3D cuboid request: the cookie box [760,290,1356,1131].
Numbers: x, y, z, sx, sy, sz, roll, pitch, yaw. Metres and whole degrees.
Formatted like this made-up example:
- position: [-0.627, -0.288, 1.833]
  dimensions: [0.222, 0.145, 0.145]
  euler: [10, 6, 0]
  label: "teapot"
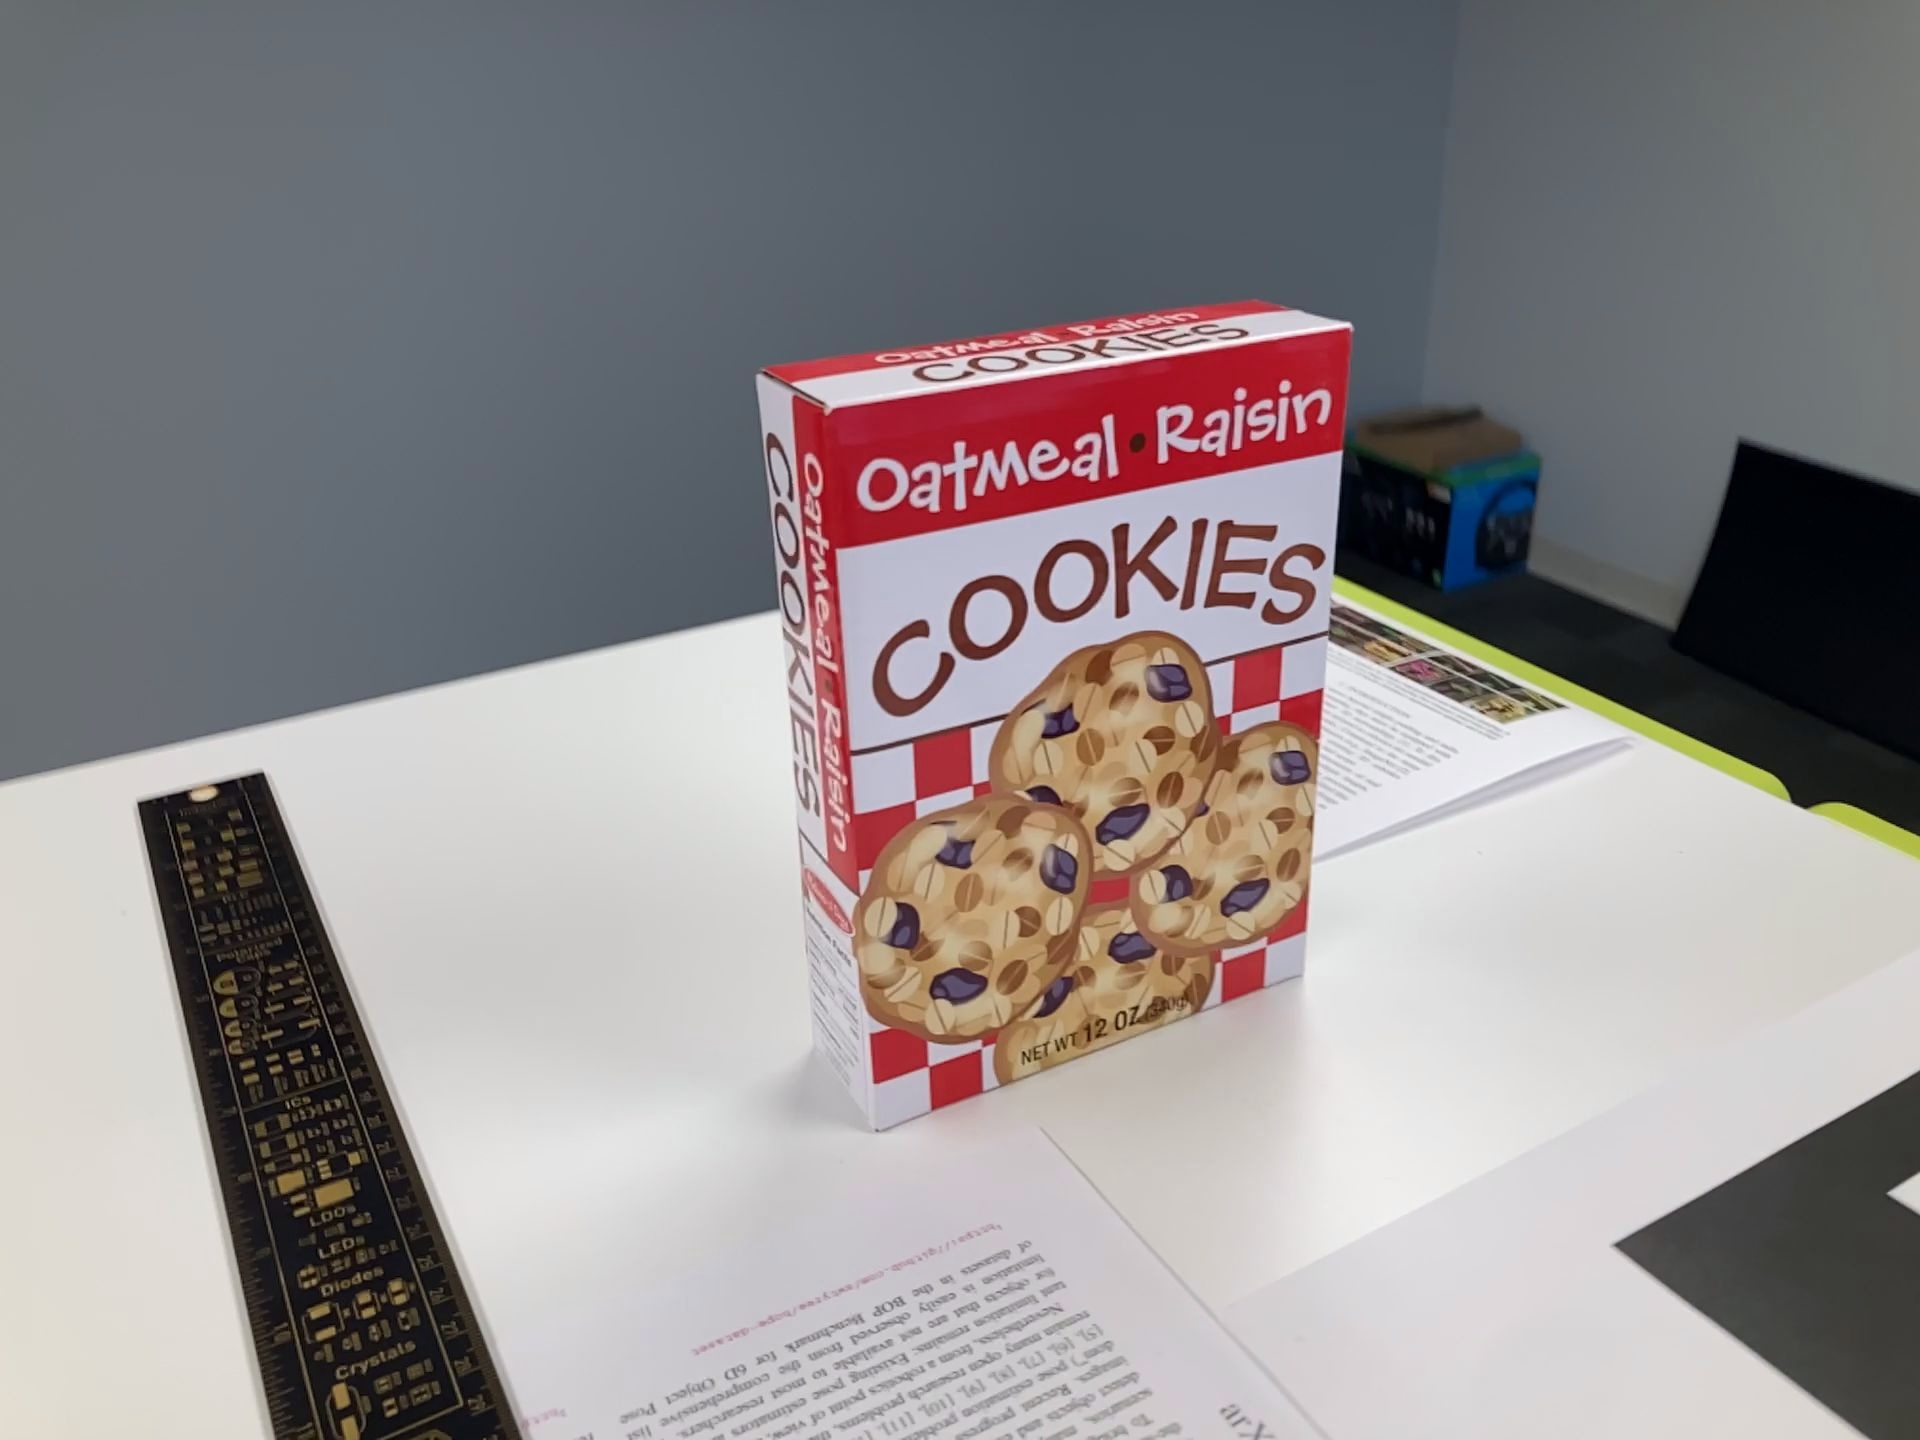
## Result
- position: [0.024, -0.004, 0.360]
  dimensions: [0.123, 0.167, 0.040]
  euler: [-14, 28, -24]
  label: "cookie box"
